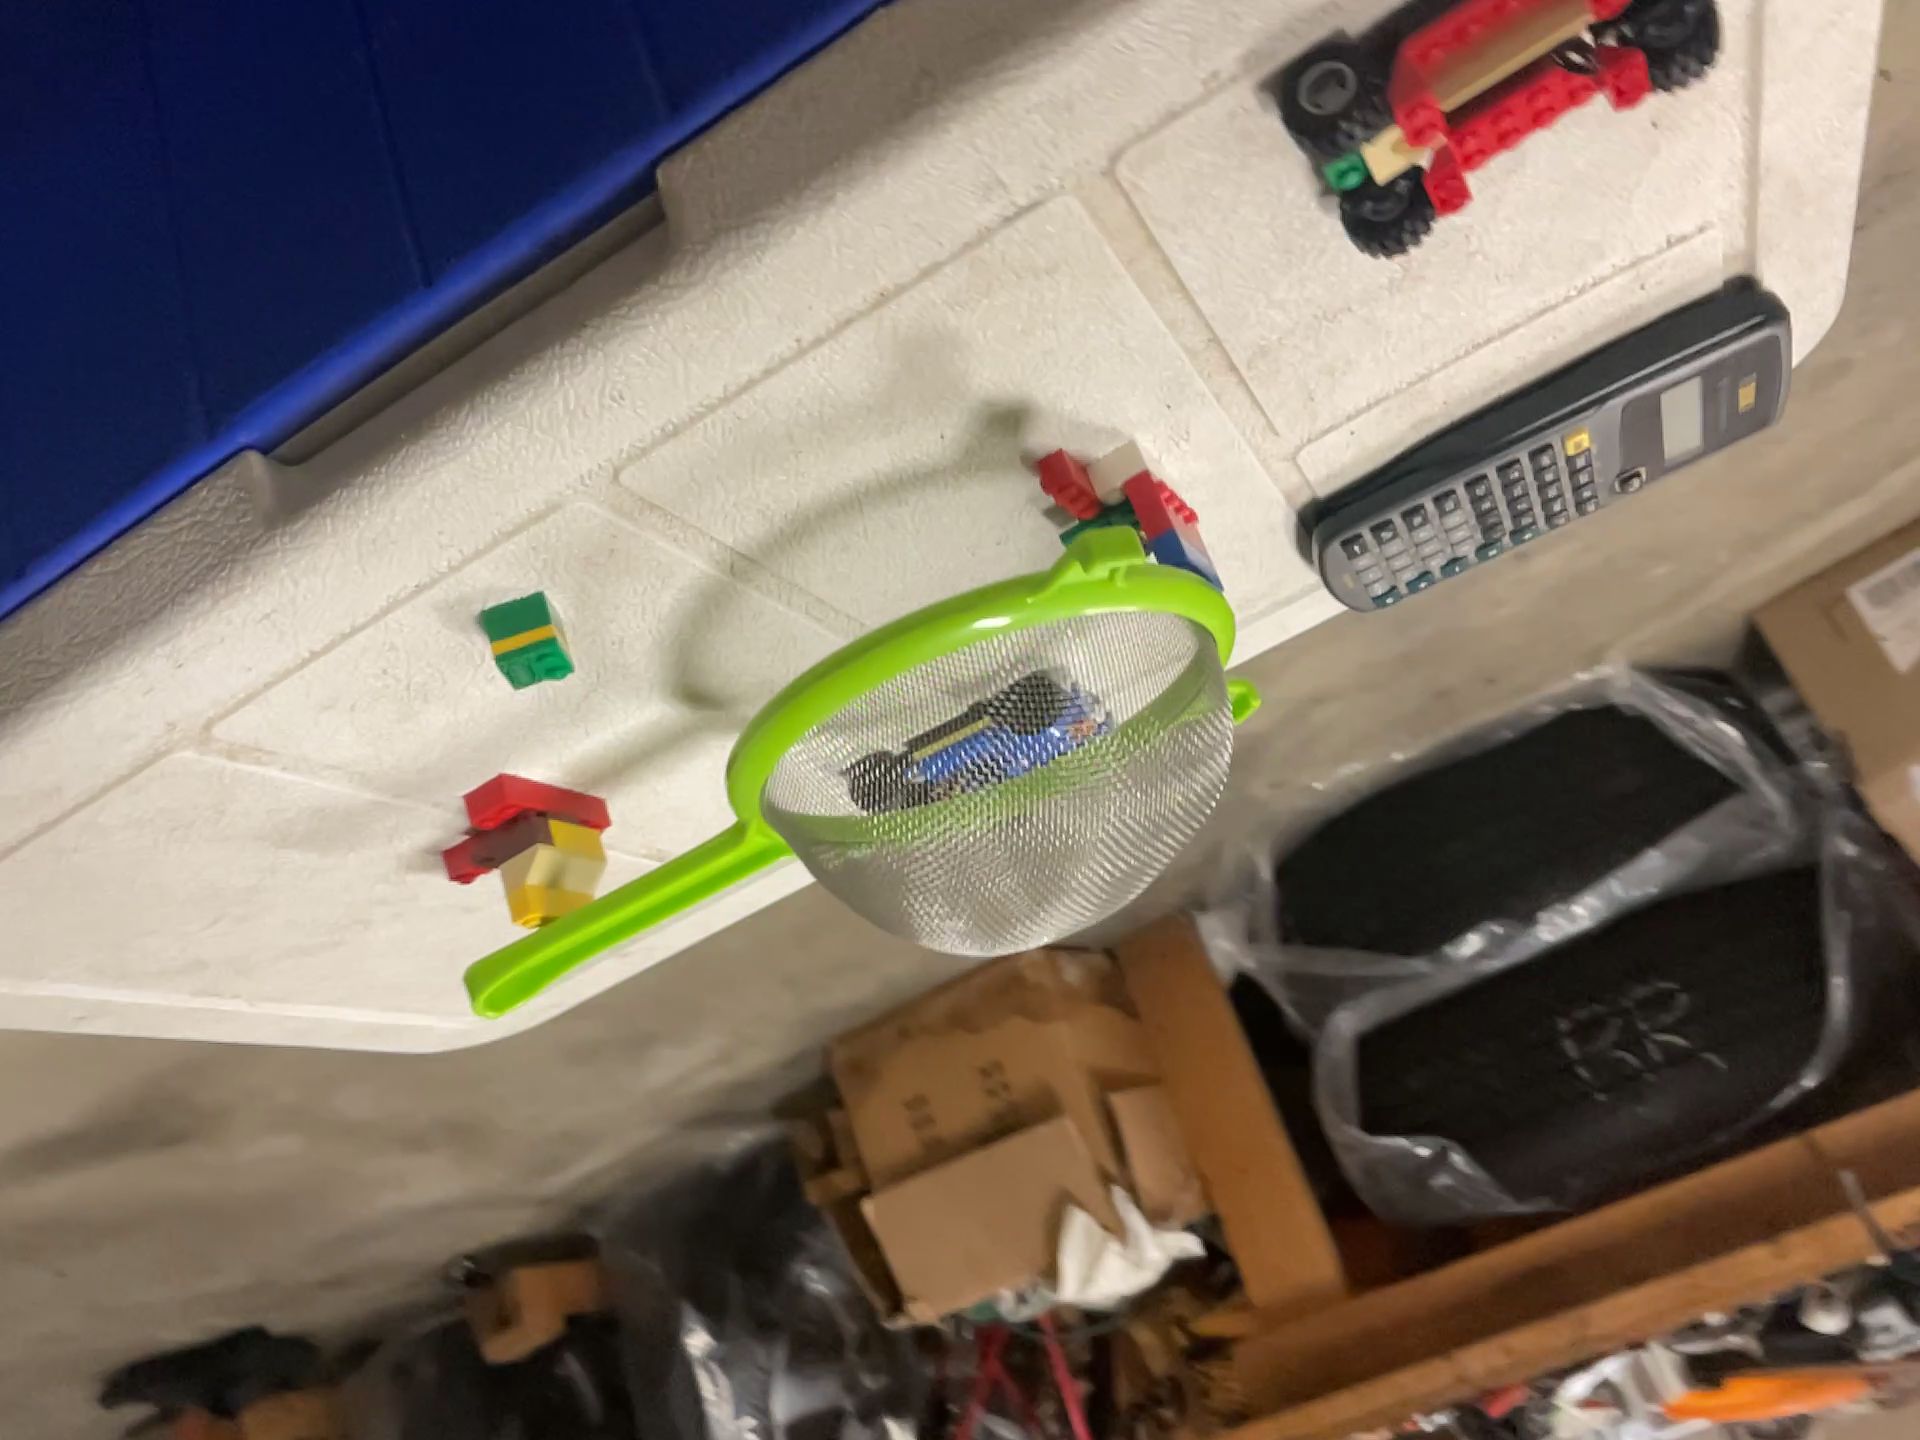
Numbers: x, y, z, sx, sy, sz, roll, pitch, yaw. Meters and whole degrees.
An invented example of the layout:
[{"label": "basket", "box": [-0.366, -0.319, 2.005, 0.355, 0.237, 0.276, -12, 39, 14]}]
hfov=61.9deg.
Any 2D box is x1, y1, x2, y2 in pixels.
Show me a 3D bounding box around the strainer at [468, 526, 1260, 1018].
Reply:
[{"label": "strainer", "box": [-0.029, 0.047, 0.453, 0.256, 0.069, 0.151, -28, 158, 13]}]
